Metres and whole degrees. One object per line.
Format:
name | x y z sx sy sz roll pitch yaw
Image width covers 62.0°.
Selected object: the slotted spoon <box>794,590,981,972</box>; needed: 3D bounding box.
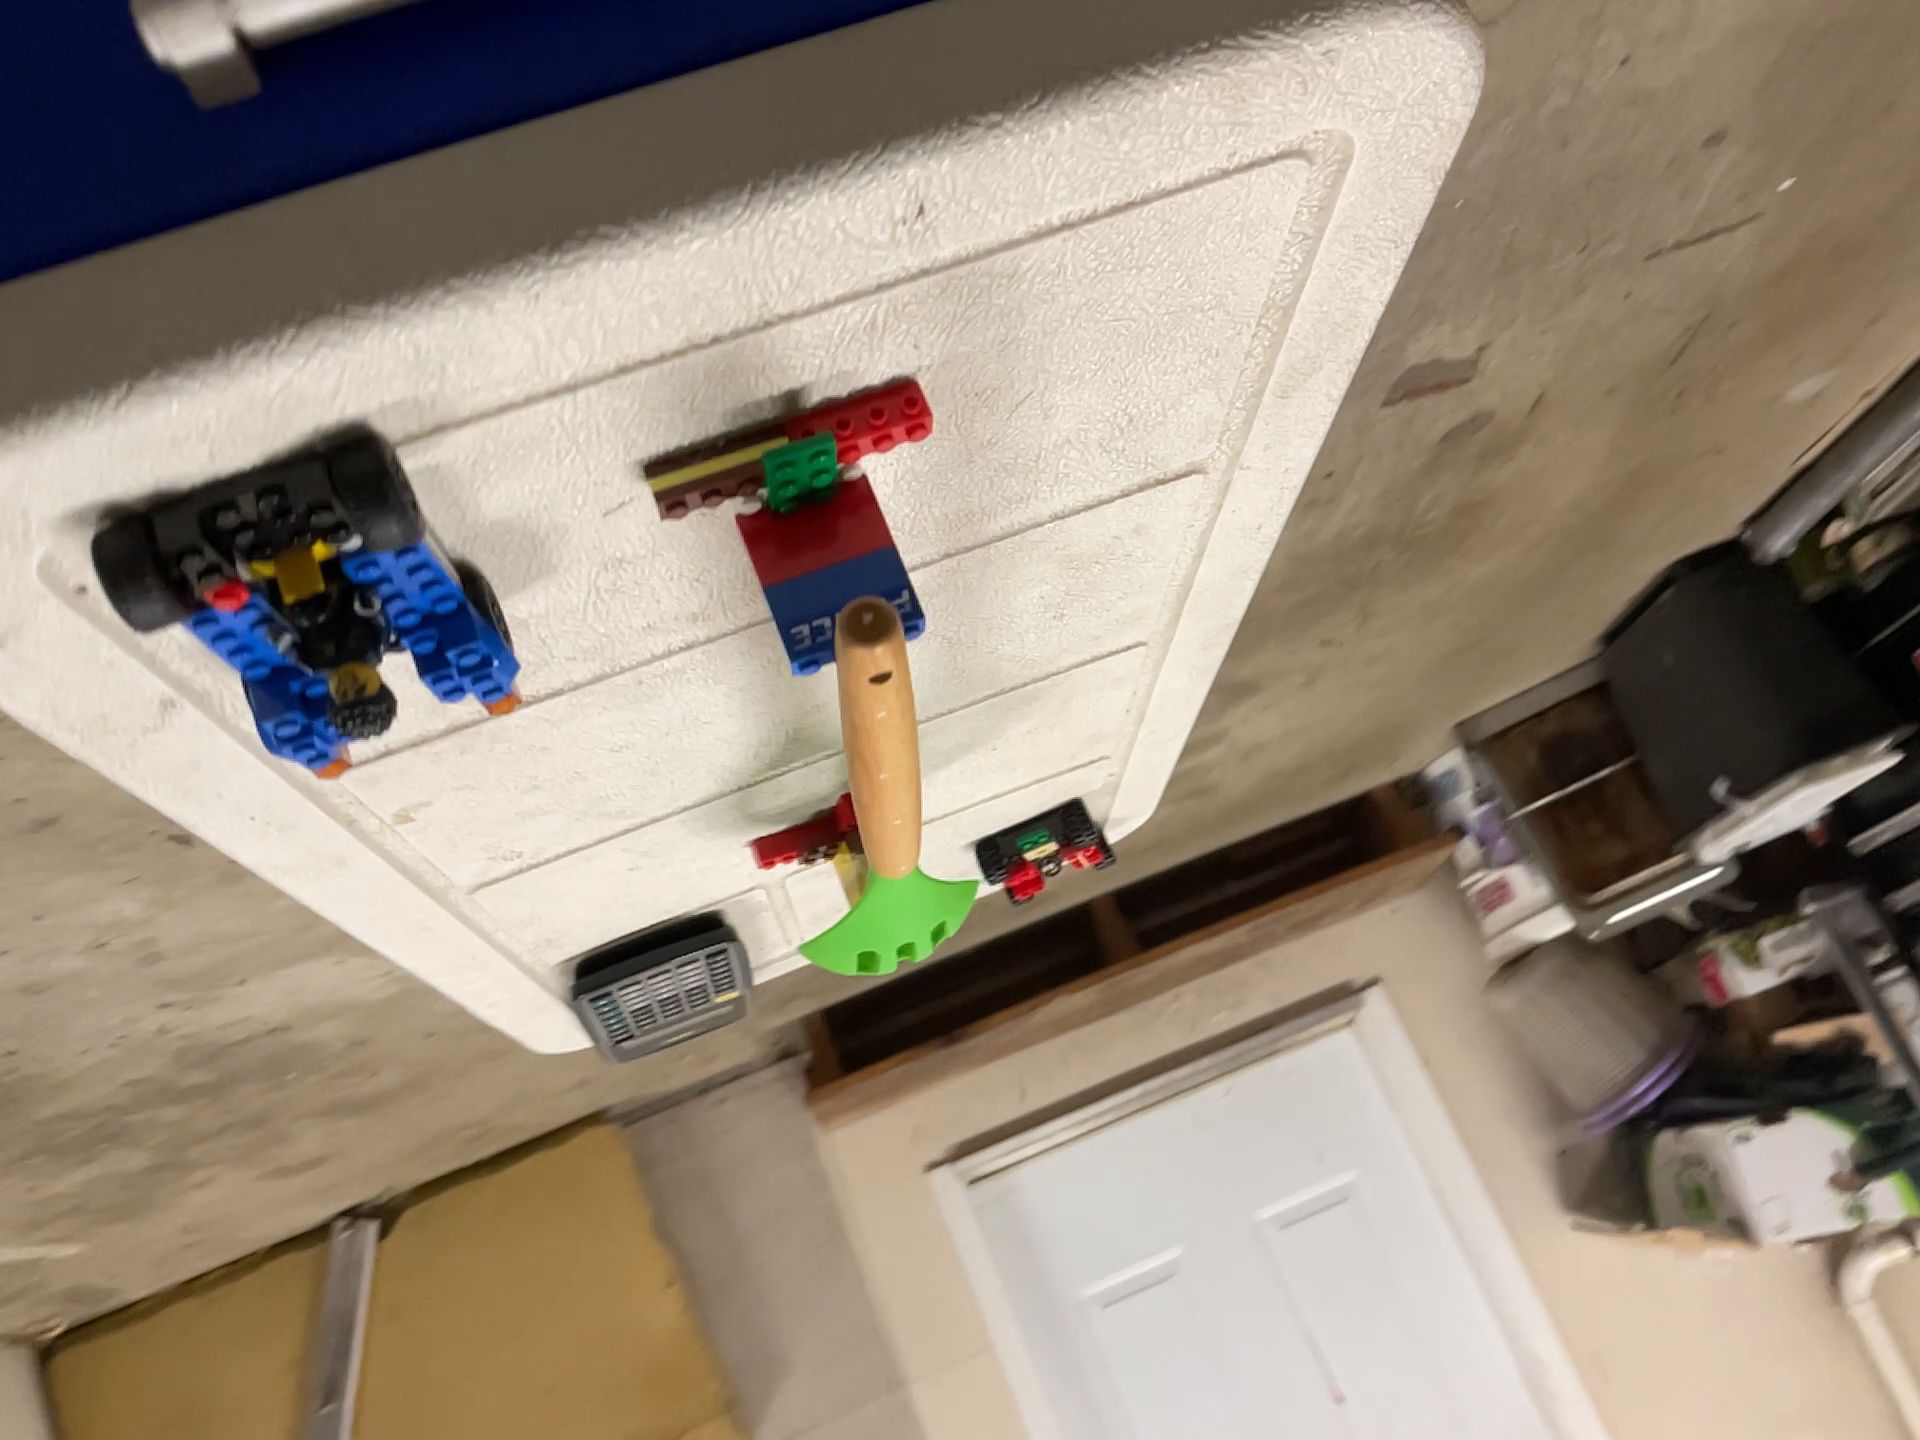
slotted spoon | -0.022 0.033 0.460 0.070 0.031 0.313 -19 162 -8
